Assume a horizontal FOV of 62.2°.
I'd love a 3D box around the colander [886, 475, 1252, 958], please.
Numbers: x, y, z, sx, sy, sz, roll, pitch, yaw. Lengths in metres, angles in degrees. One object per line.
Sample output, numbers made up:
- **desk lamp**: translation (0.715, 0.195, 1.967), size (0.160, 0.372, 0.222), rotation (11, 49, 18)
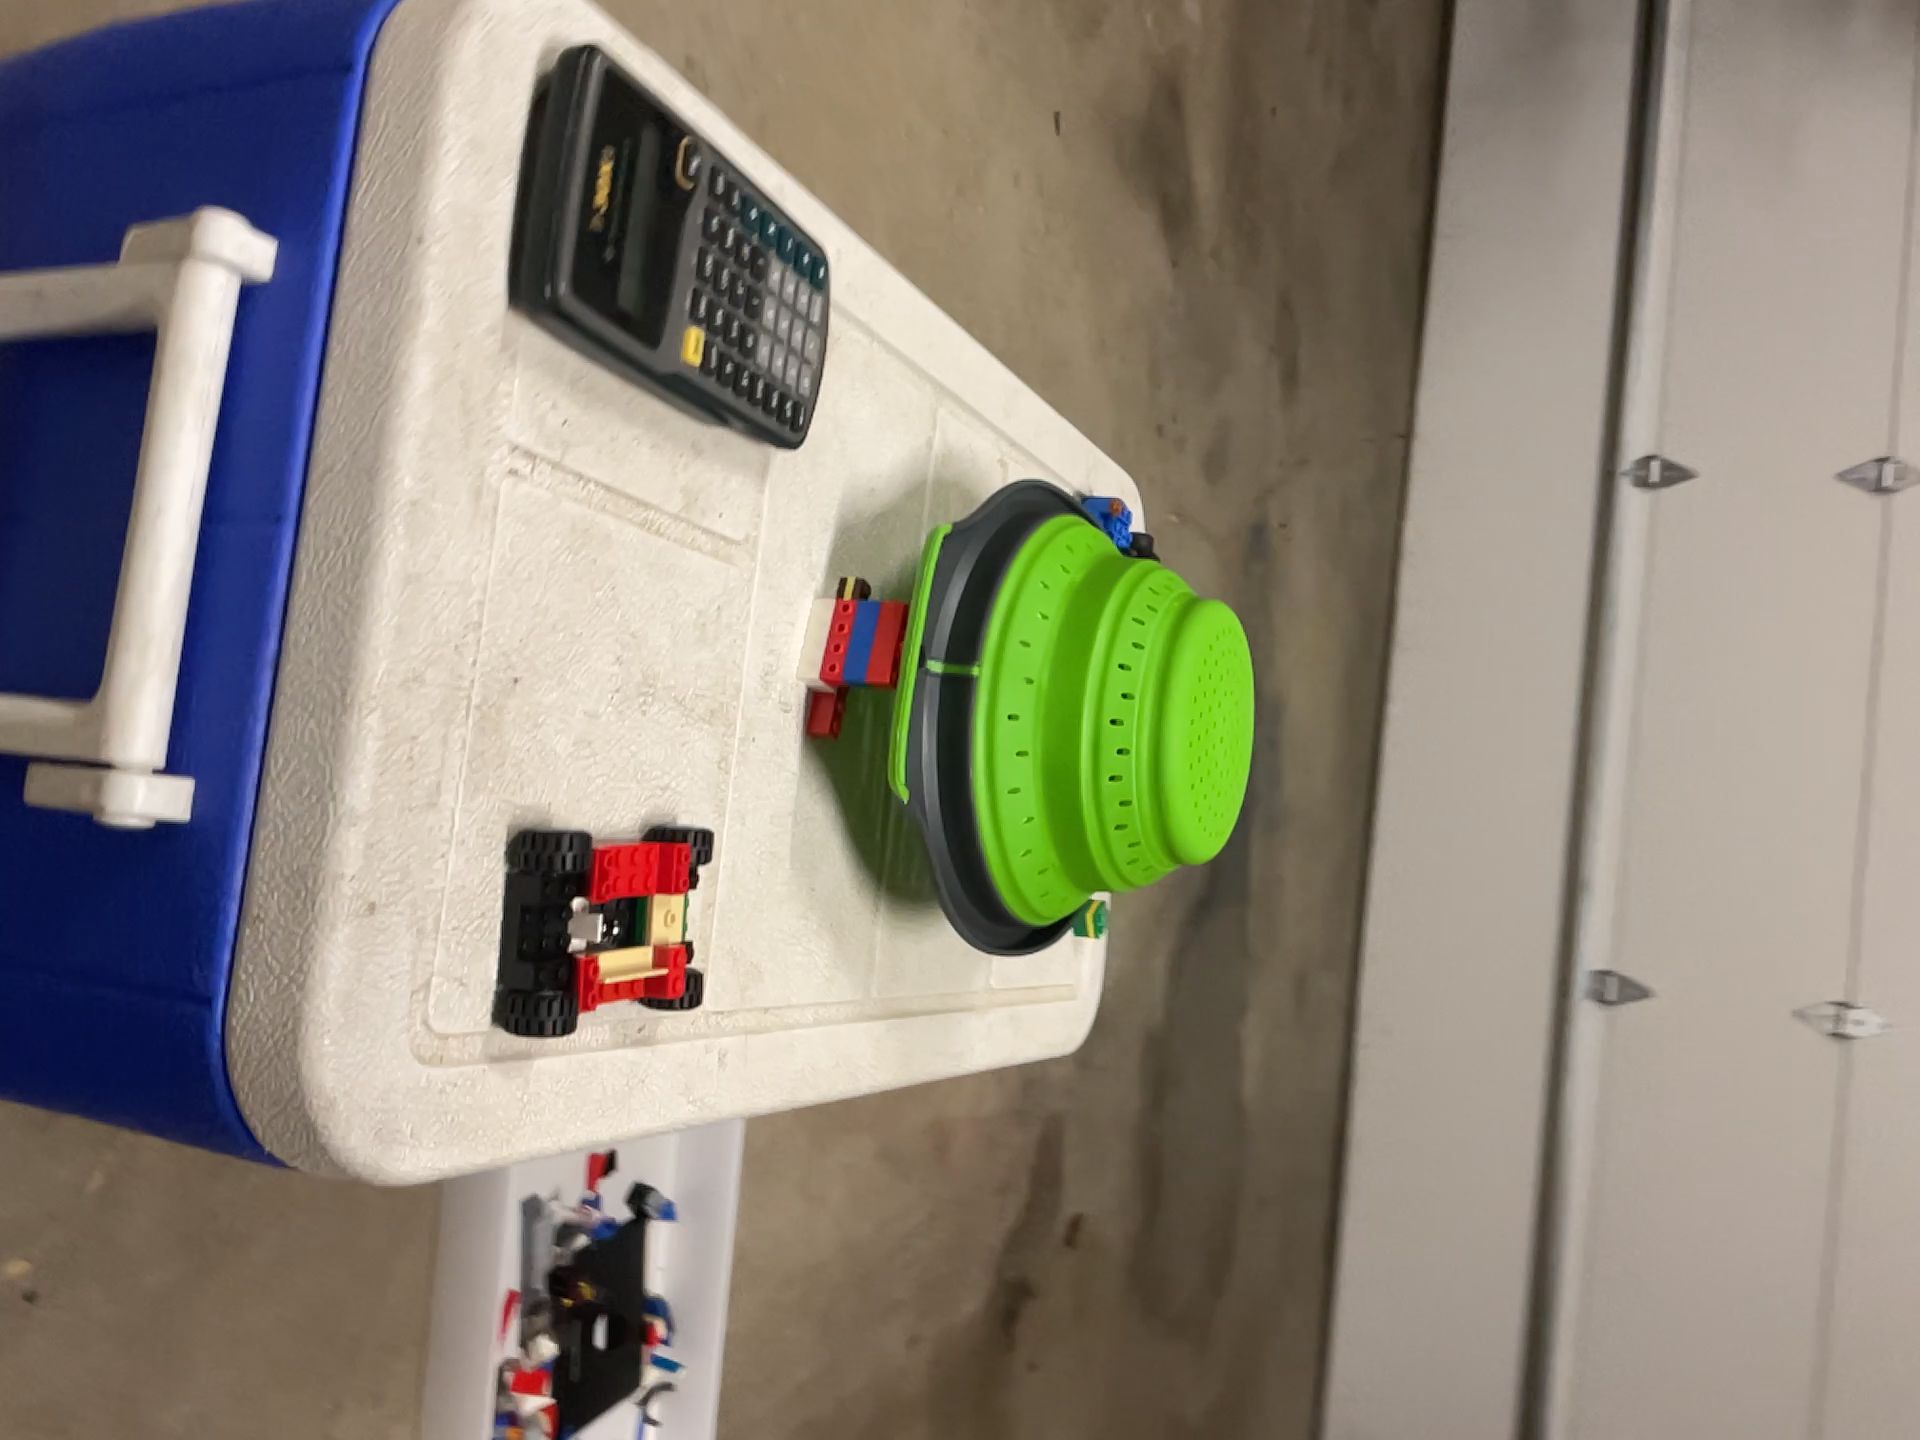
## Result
- **colander**: translation (0.097, 0.019, 0.736), size (0.396, 0.094, 0.205), rotation (28, 69, -63)
